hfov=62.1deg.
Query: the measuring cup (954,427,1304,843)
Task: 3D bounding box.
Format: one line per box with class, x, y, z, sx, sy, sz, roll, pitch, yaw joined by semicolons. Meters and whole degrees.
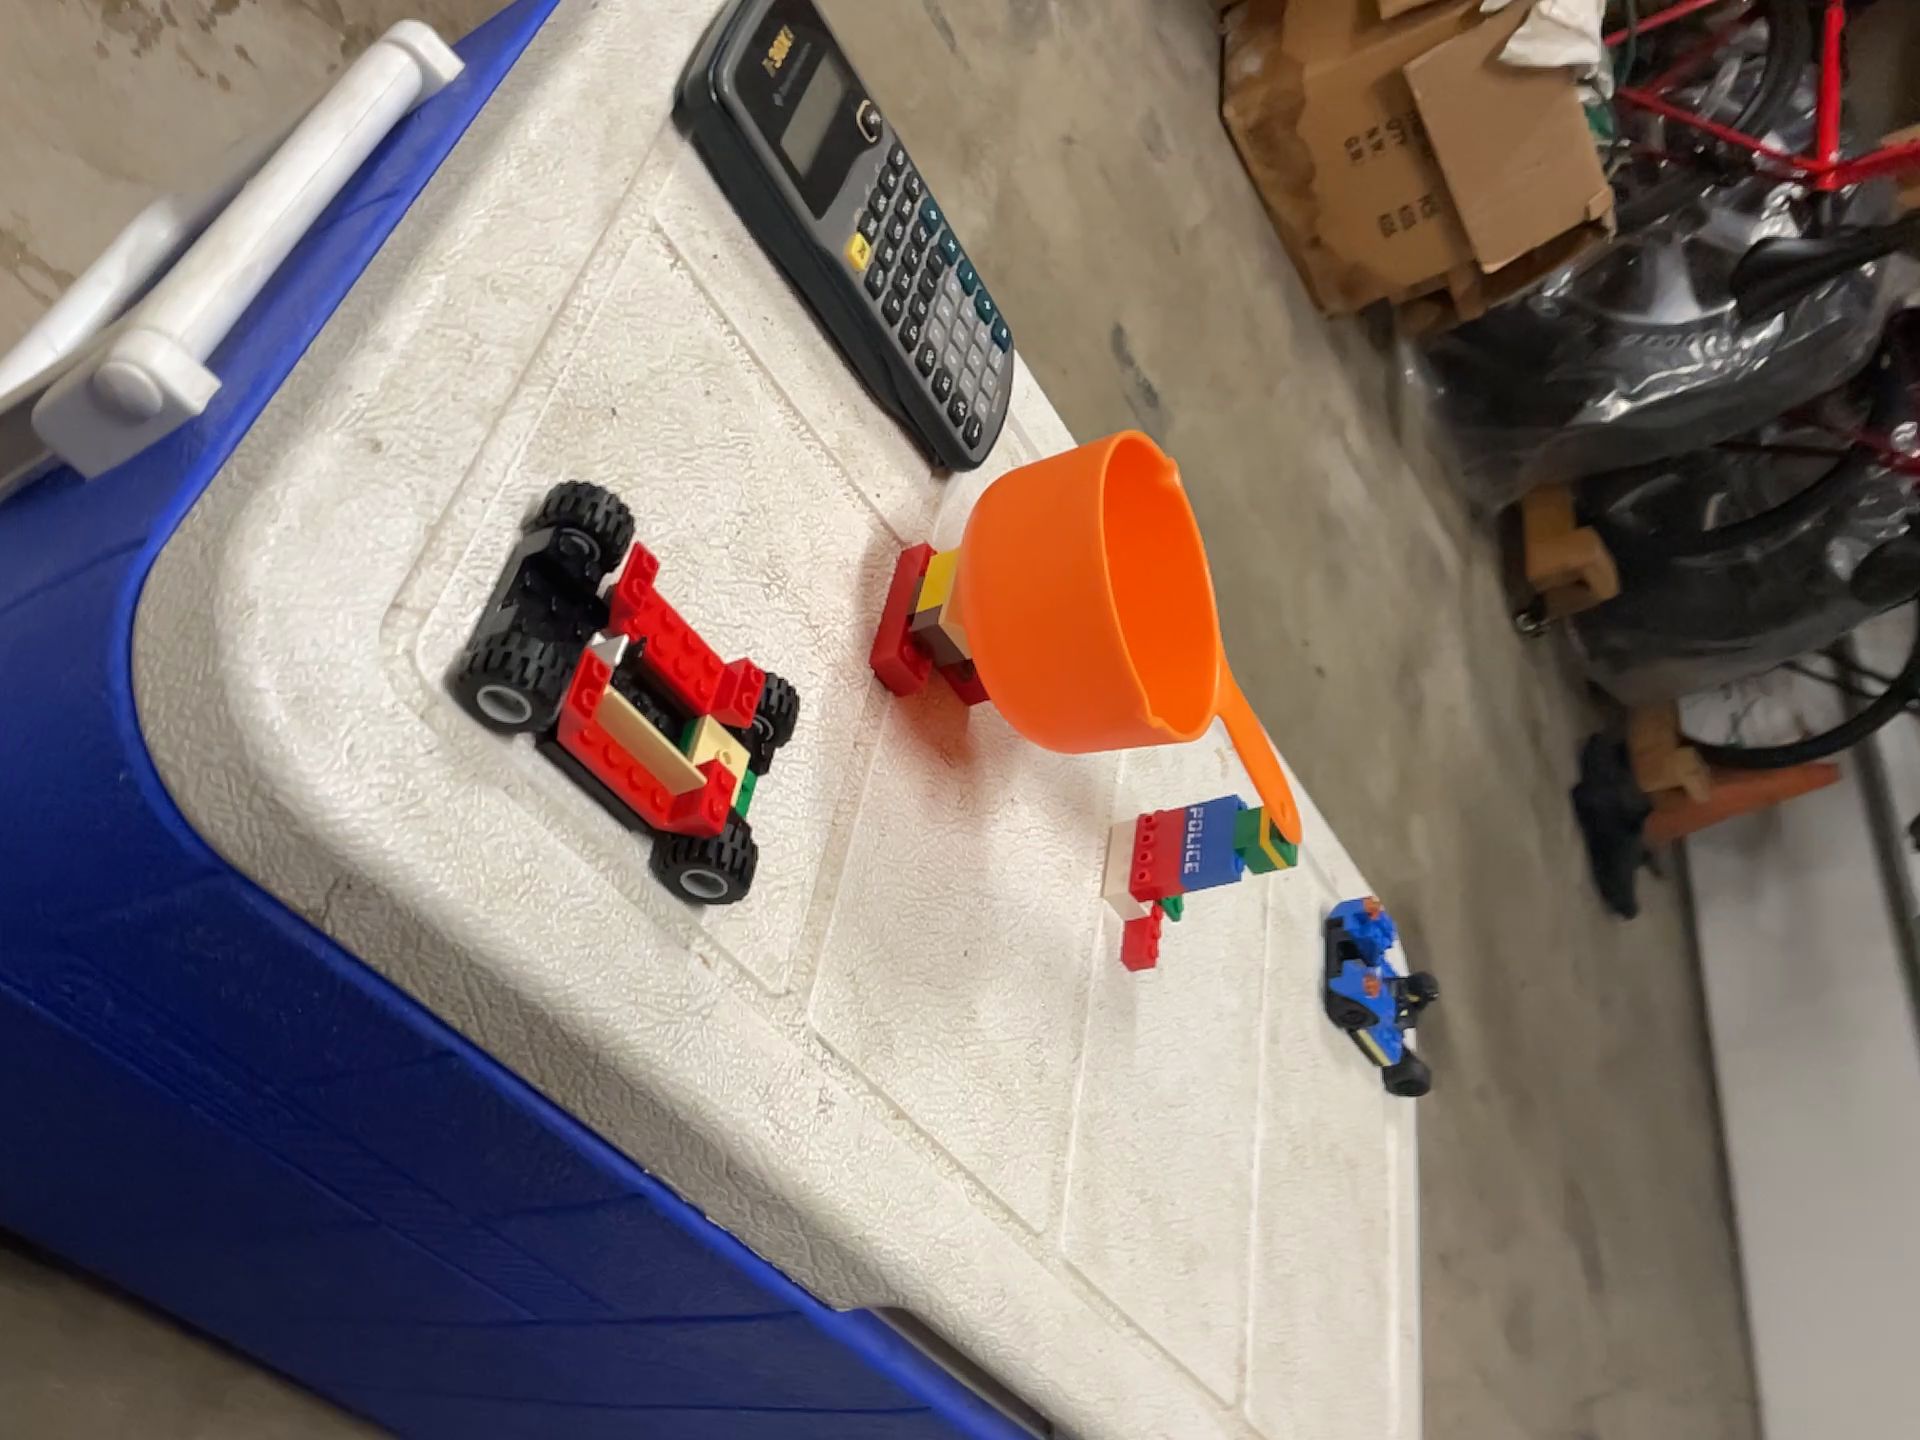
measuring cup;0.054;-0.009;0.477;0.173;0.052;0.095;52;36;-43
